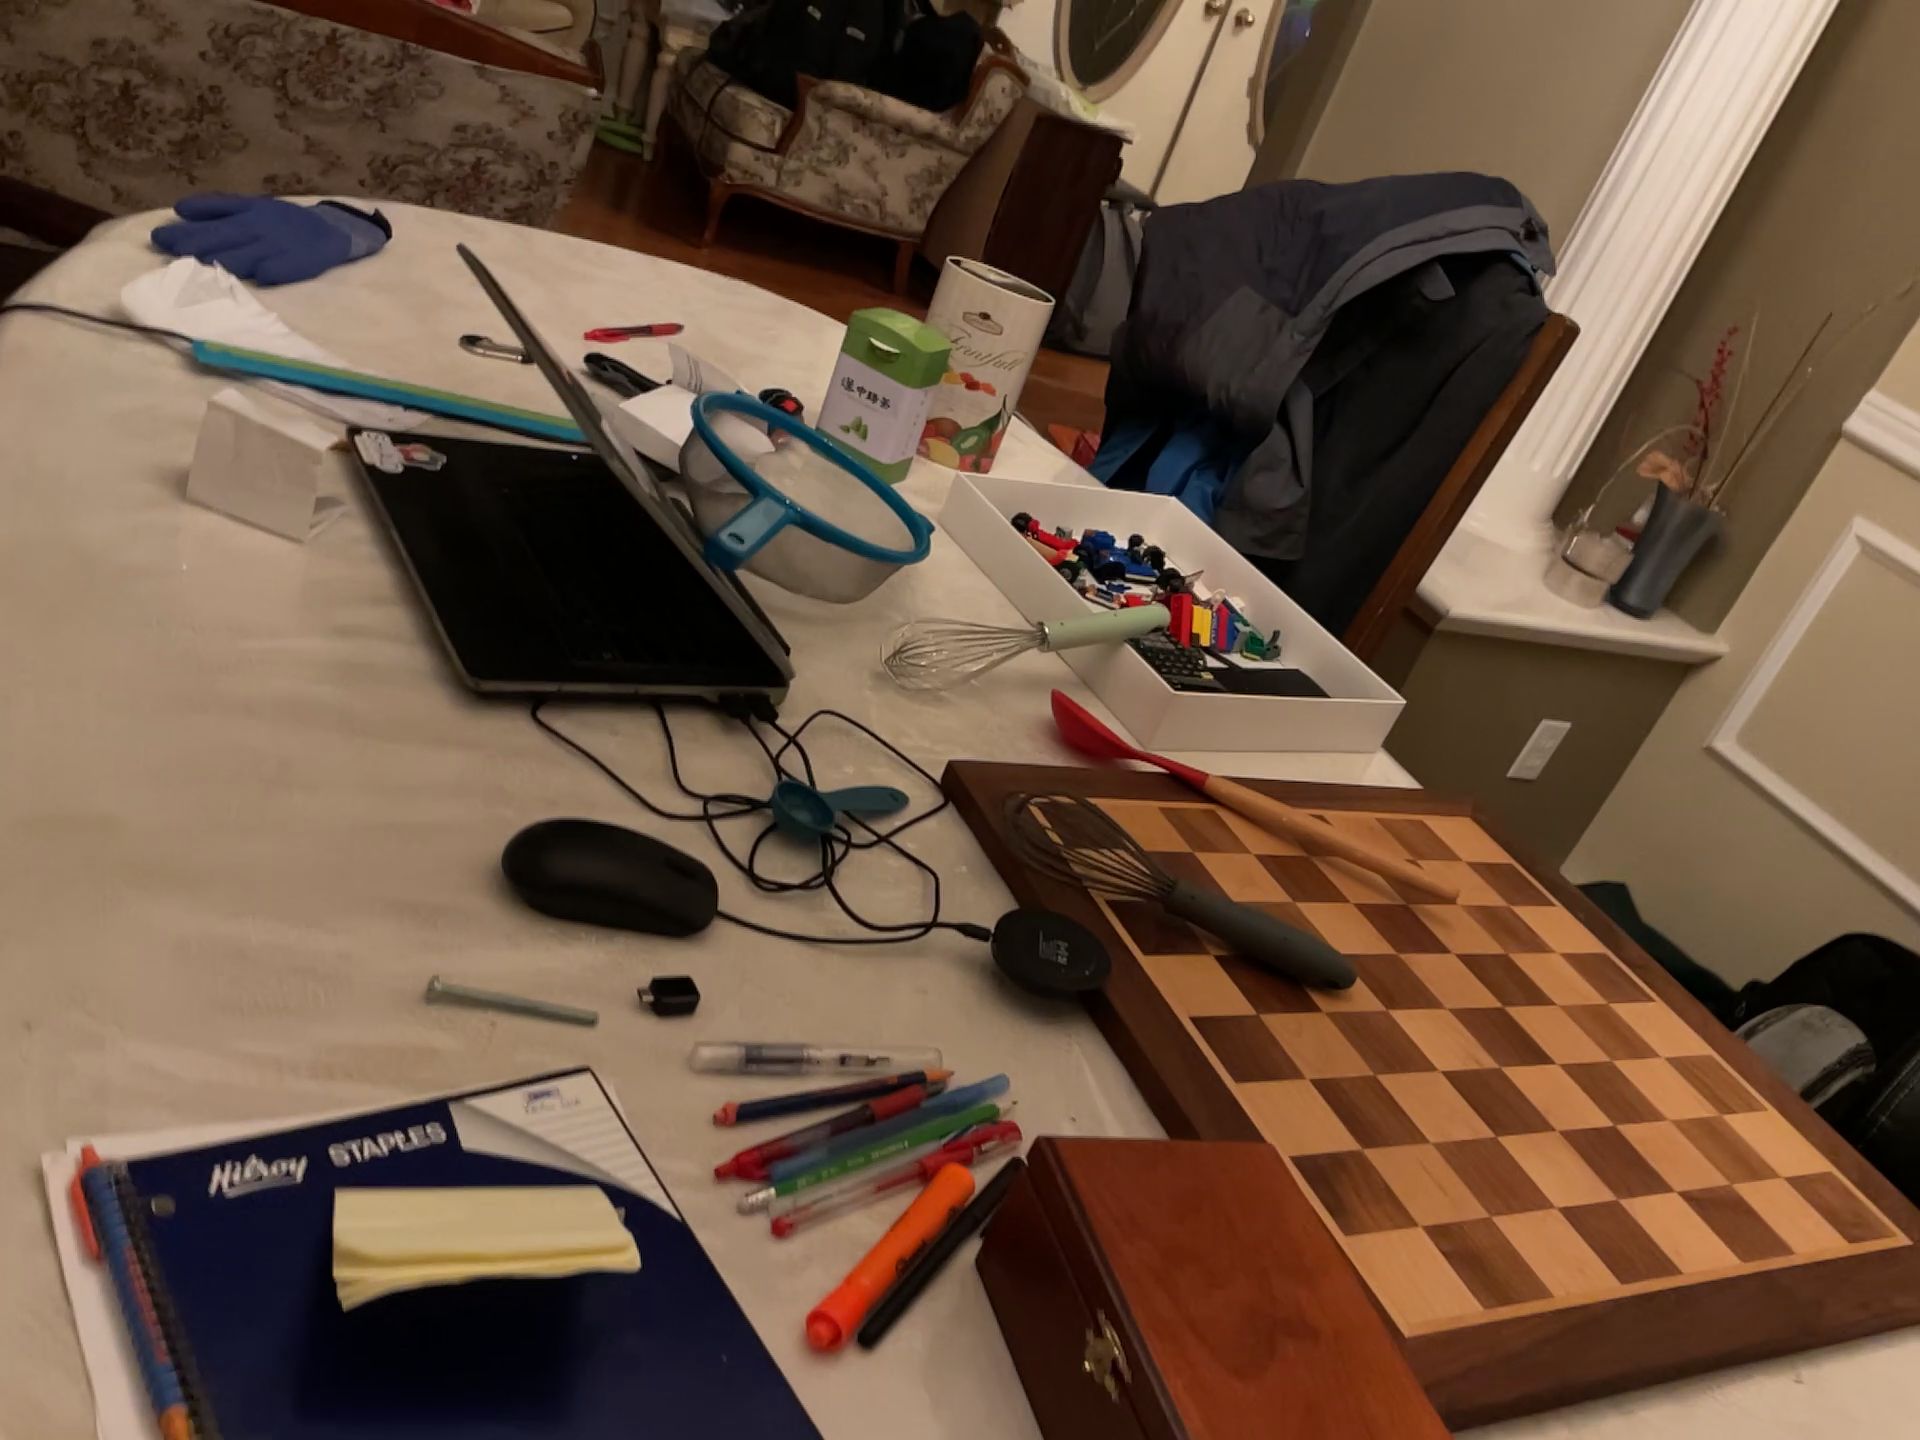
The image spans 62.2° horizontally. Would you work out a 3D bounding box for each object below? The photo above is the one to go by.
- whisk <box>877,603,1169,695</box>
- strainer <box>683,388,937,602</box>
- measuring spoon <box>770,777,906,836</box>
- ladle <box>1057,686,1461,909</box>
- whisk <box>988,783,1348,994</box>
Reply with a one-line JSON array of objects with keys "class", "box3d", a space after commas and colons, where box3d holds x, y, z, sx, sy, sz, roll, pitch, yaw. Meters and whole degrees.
[{"class": "whisk", "box3d": [0.052, -0.061, 1.188, 0.246, 0.058, 0.059, -11, 70, -26]}, {"class": "strainer", "box3d": [-0.143, -0.132, 1.154, 0.211, 0.095, 0.340, 35, 22, -4]}, {"class": "measuring spoon", "box3d": [-0.073, 0.053, 0.970, 0.042, 0.021, 0.128, 44, 21, 22]}, {"class": "ladle", "box3d": [0.201, 0.056, 1.118, 0.315, 0.031, 0.069, 27, 5, 19]}, {"class": "whisk", "box3d": [0.126, 0.107, 0.960, 0.239, 0.055, 0.055, 28, 41, 1]}]
